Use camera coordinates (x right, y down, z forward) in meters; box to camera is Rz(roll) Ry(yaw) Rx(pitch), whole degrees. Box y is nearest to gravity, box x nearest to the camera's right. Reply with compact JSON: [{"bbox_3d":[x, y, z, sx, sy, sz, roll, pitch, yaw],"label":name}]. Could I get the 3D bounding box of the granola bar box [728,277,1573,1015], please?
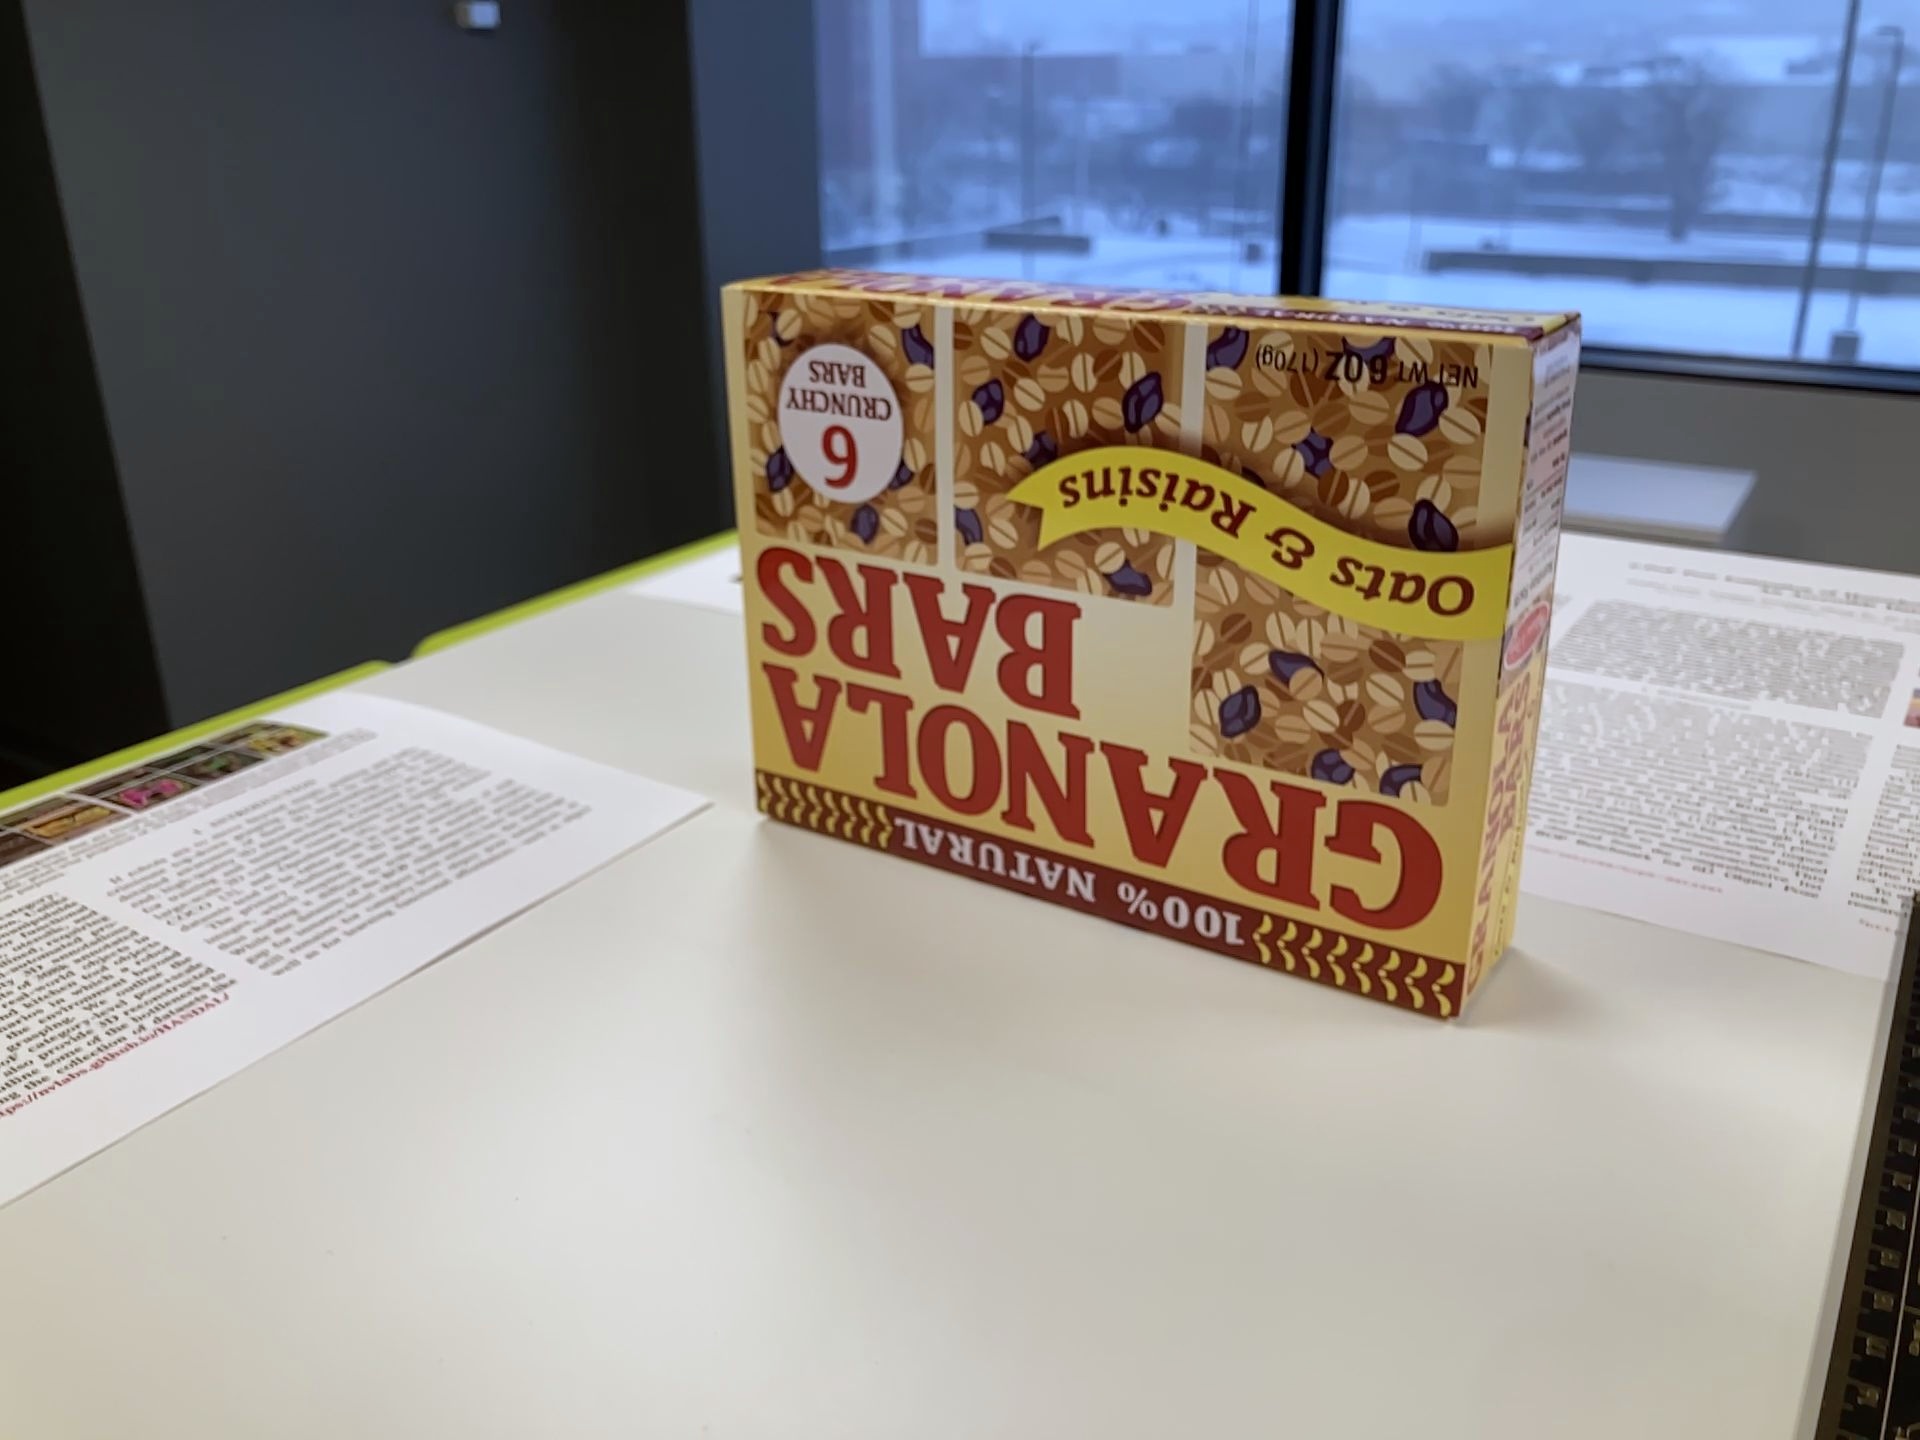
[{"bbox_3d":[0.030,-0.023,0.328,0.165,0.124,0.039,13,25,31],"label":"granola bar box"}]
